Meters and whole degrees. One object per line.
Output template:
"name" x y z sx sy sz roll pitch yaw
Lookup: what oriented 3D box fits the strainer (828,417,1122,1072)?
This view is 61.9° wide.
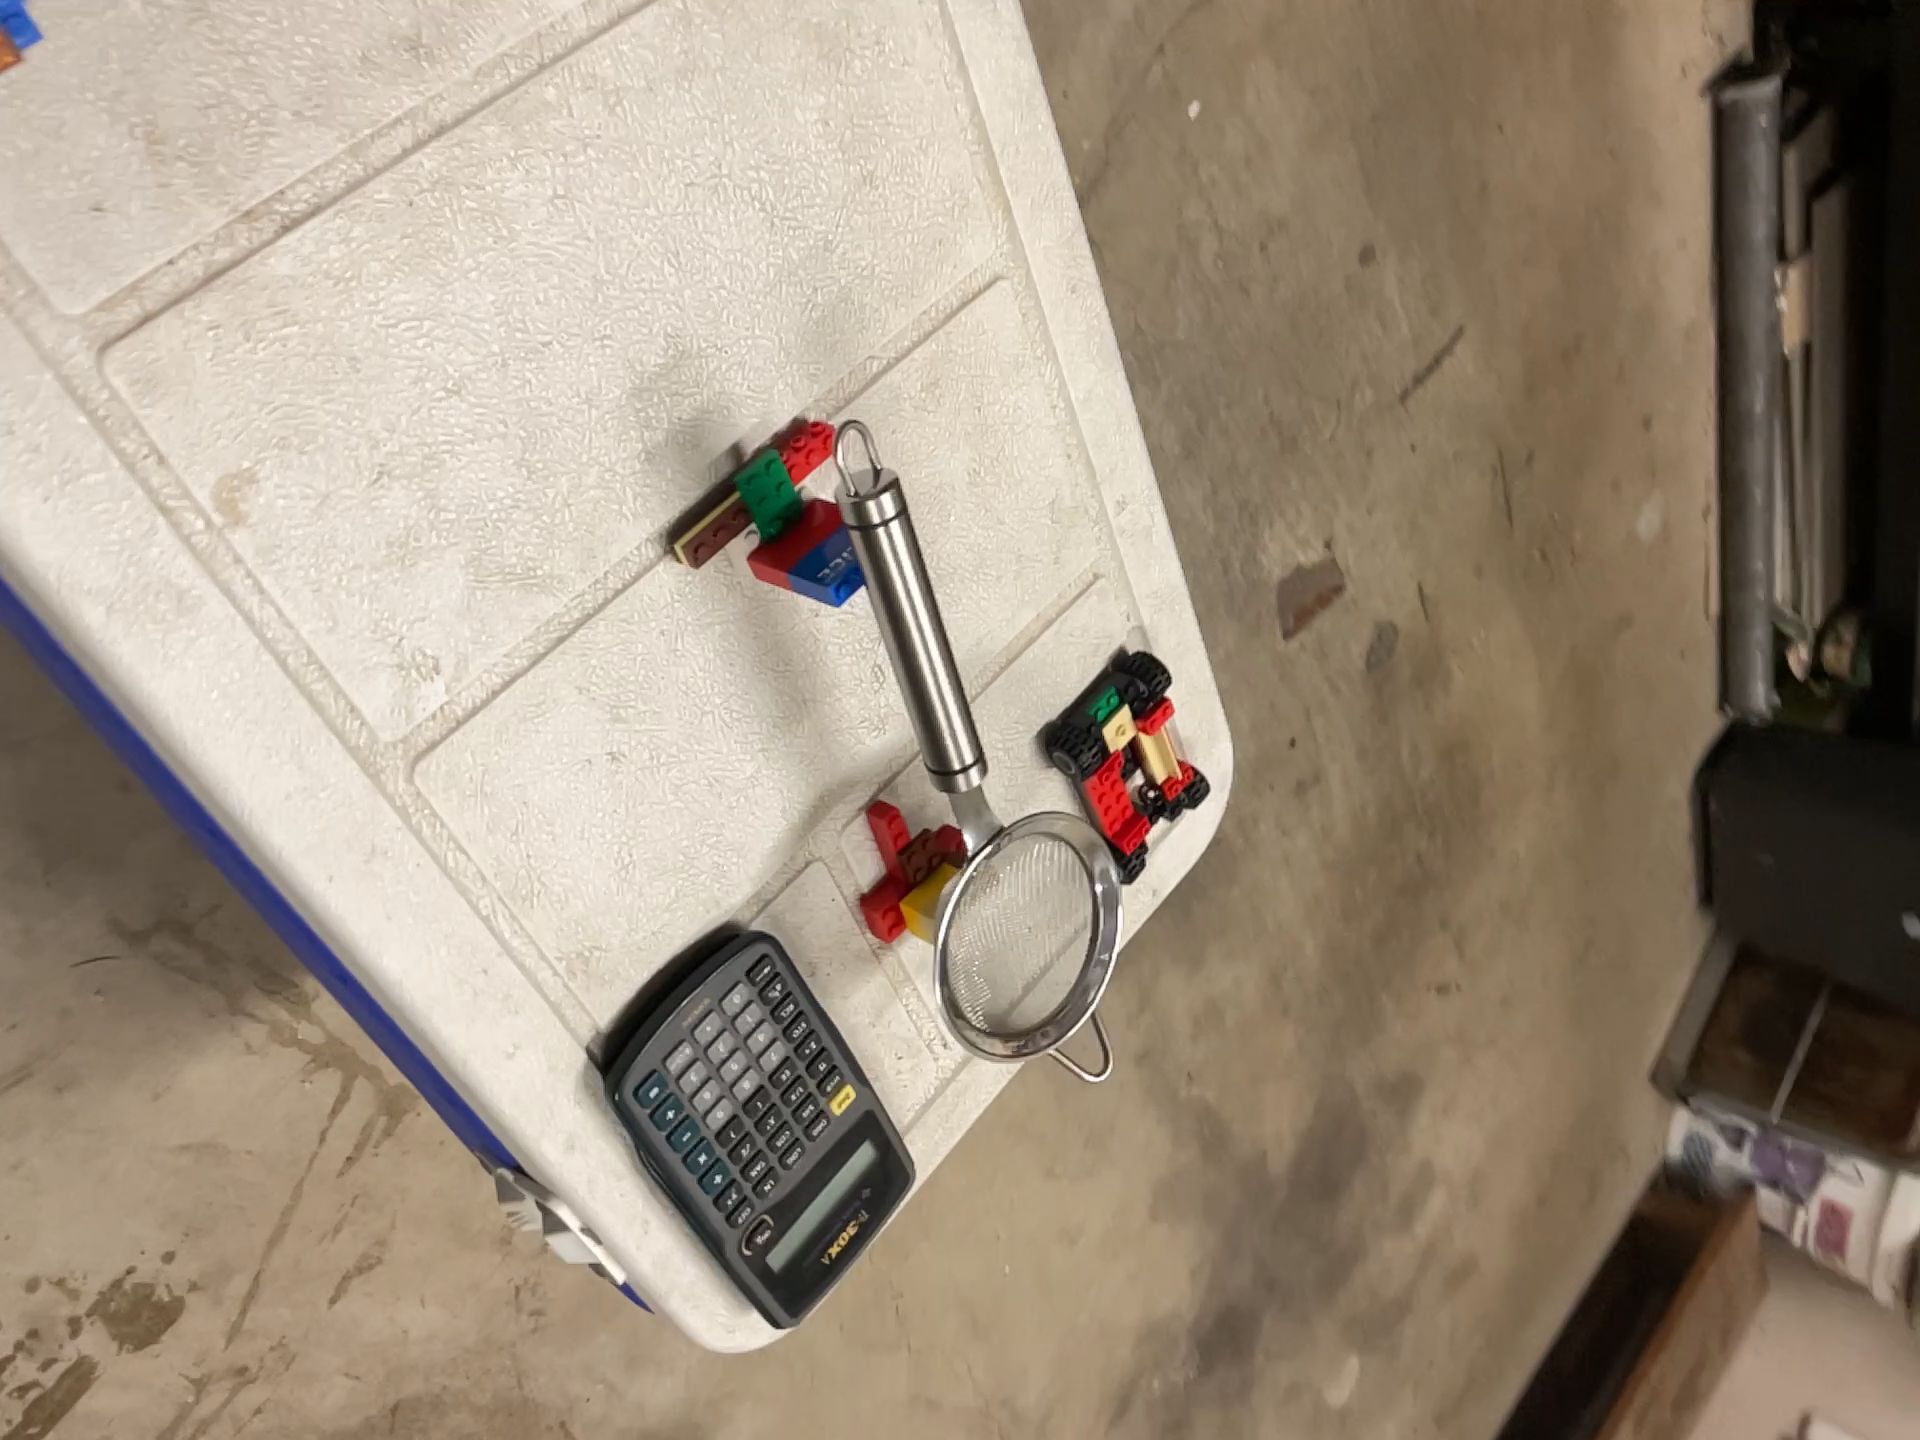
"strainer" 0.001 0.017 0.508 0.087 0.050 0.258 -42 132 -29
